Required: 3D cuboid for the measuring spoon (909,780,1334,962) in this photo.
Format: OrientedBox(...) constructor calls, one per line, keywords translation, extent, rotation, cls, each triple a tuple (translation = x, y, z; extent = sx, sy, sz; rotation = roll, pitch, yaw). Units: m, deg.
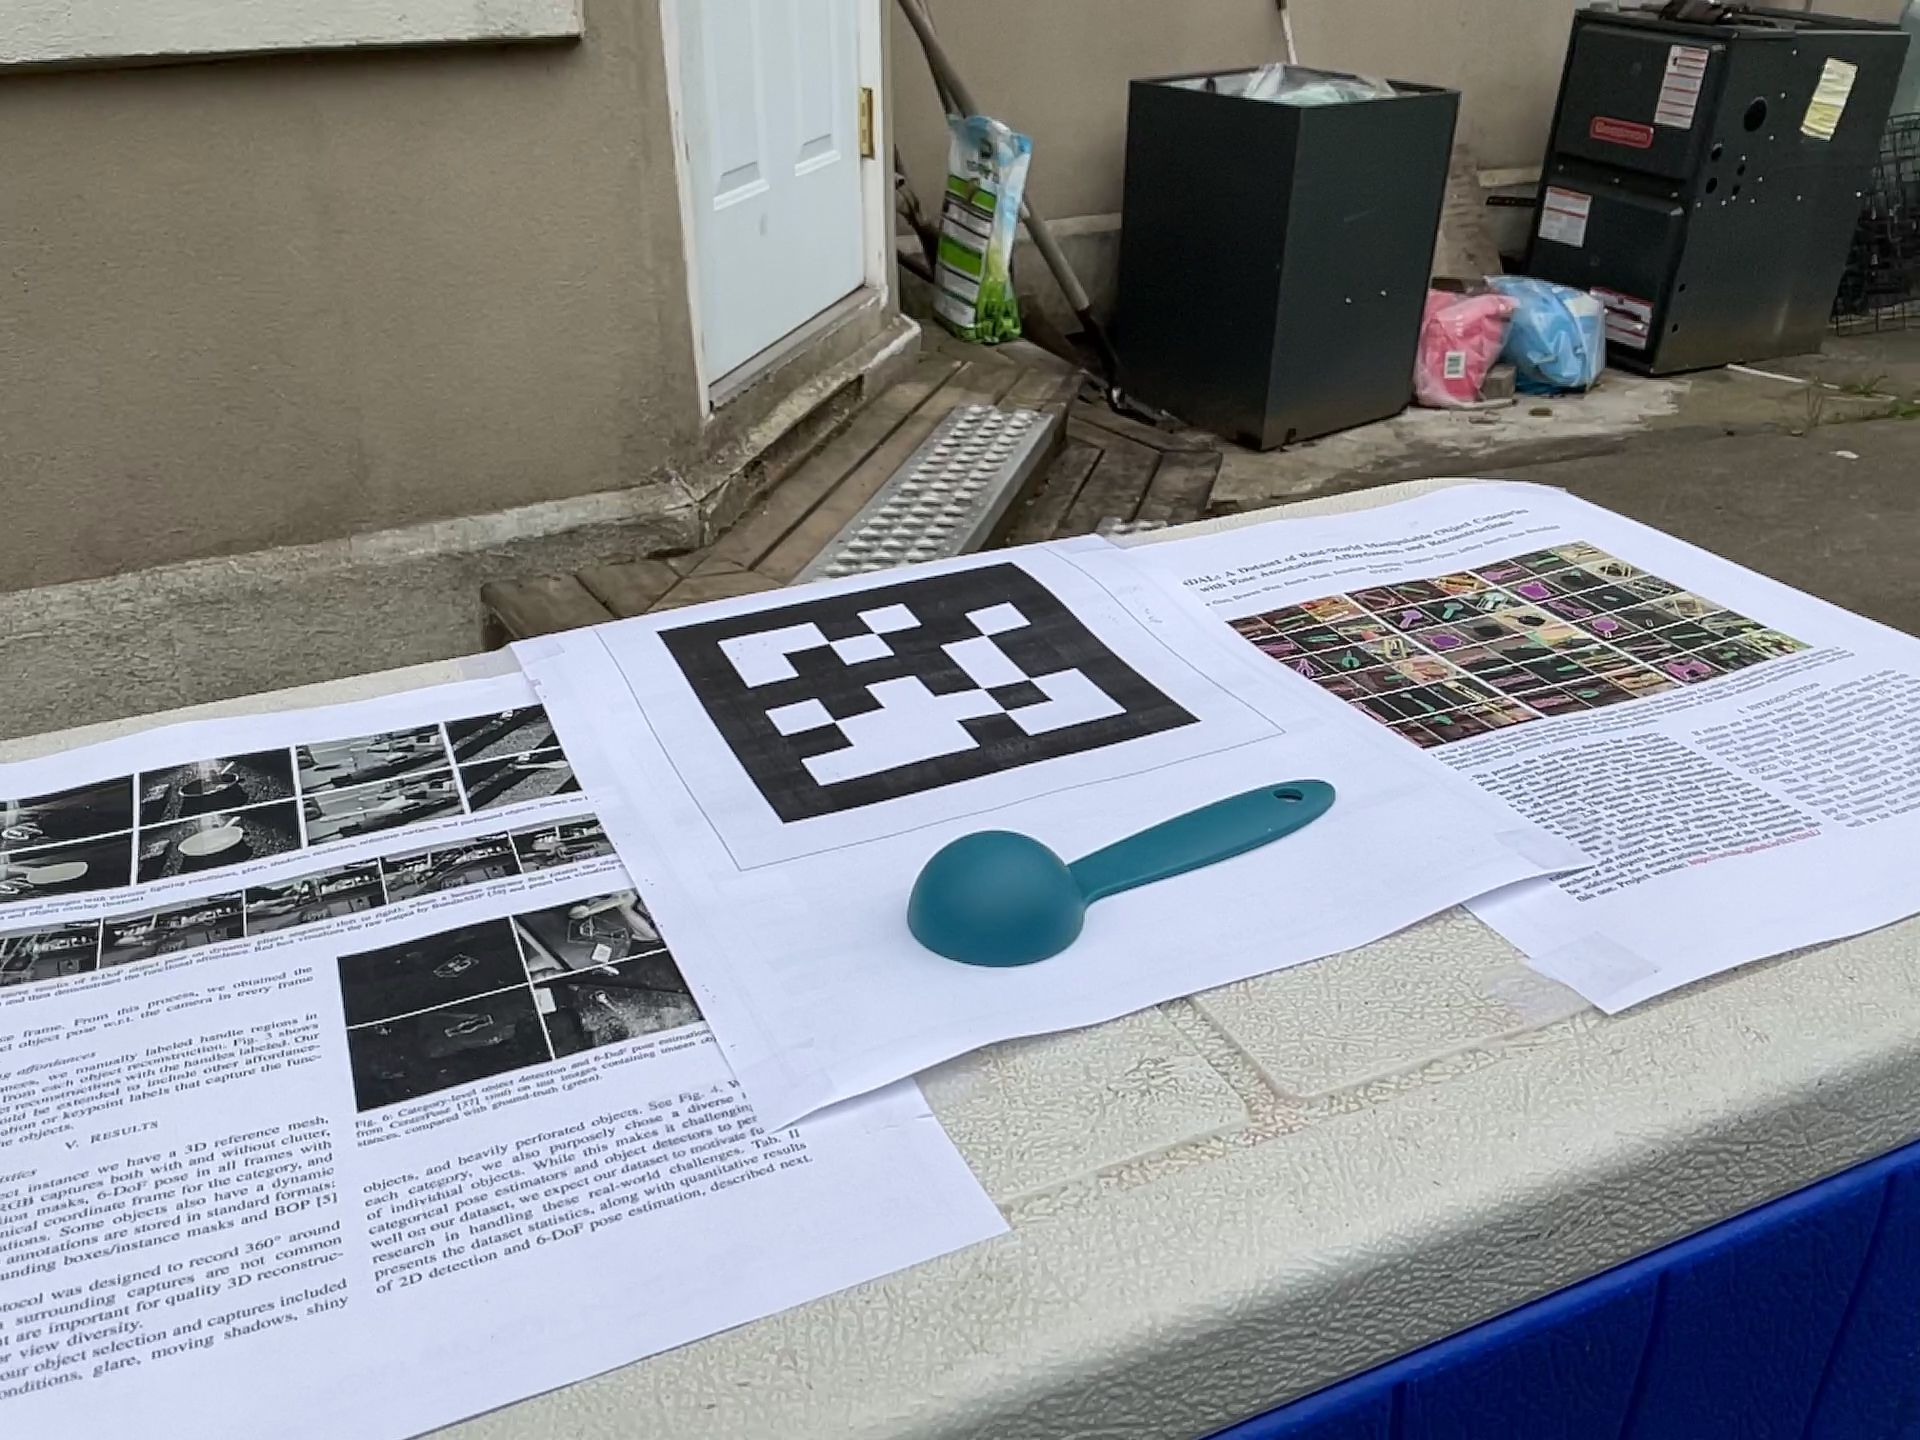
OrientedBox(translation=(0.045, 0.027, 0.401), extent=(0.128, 0.021, 0.042), rotation=(-17, 26, -28), cls="measuring spoon")
